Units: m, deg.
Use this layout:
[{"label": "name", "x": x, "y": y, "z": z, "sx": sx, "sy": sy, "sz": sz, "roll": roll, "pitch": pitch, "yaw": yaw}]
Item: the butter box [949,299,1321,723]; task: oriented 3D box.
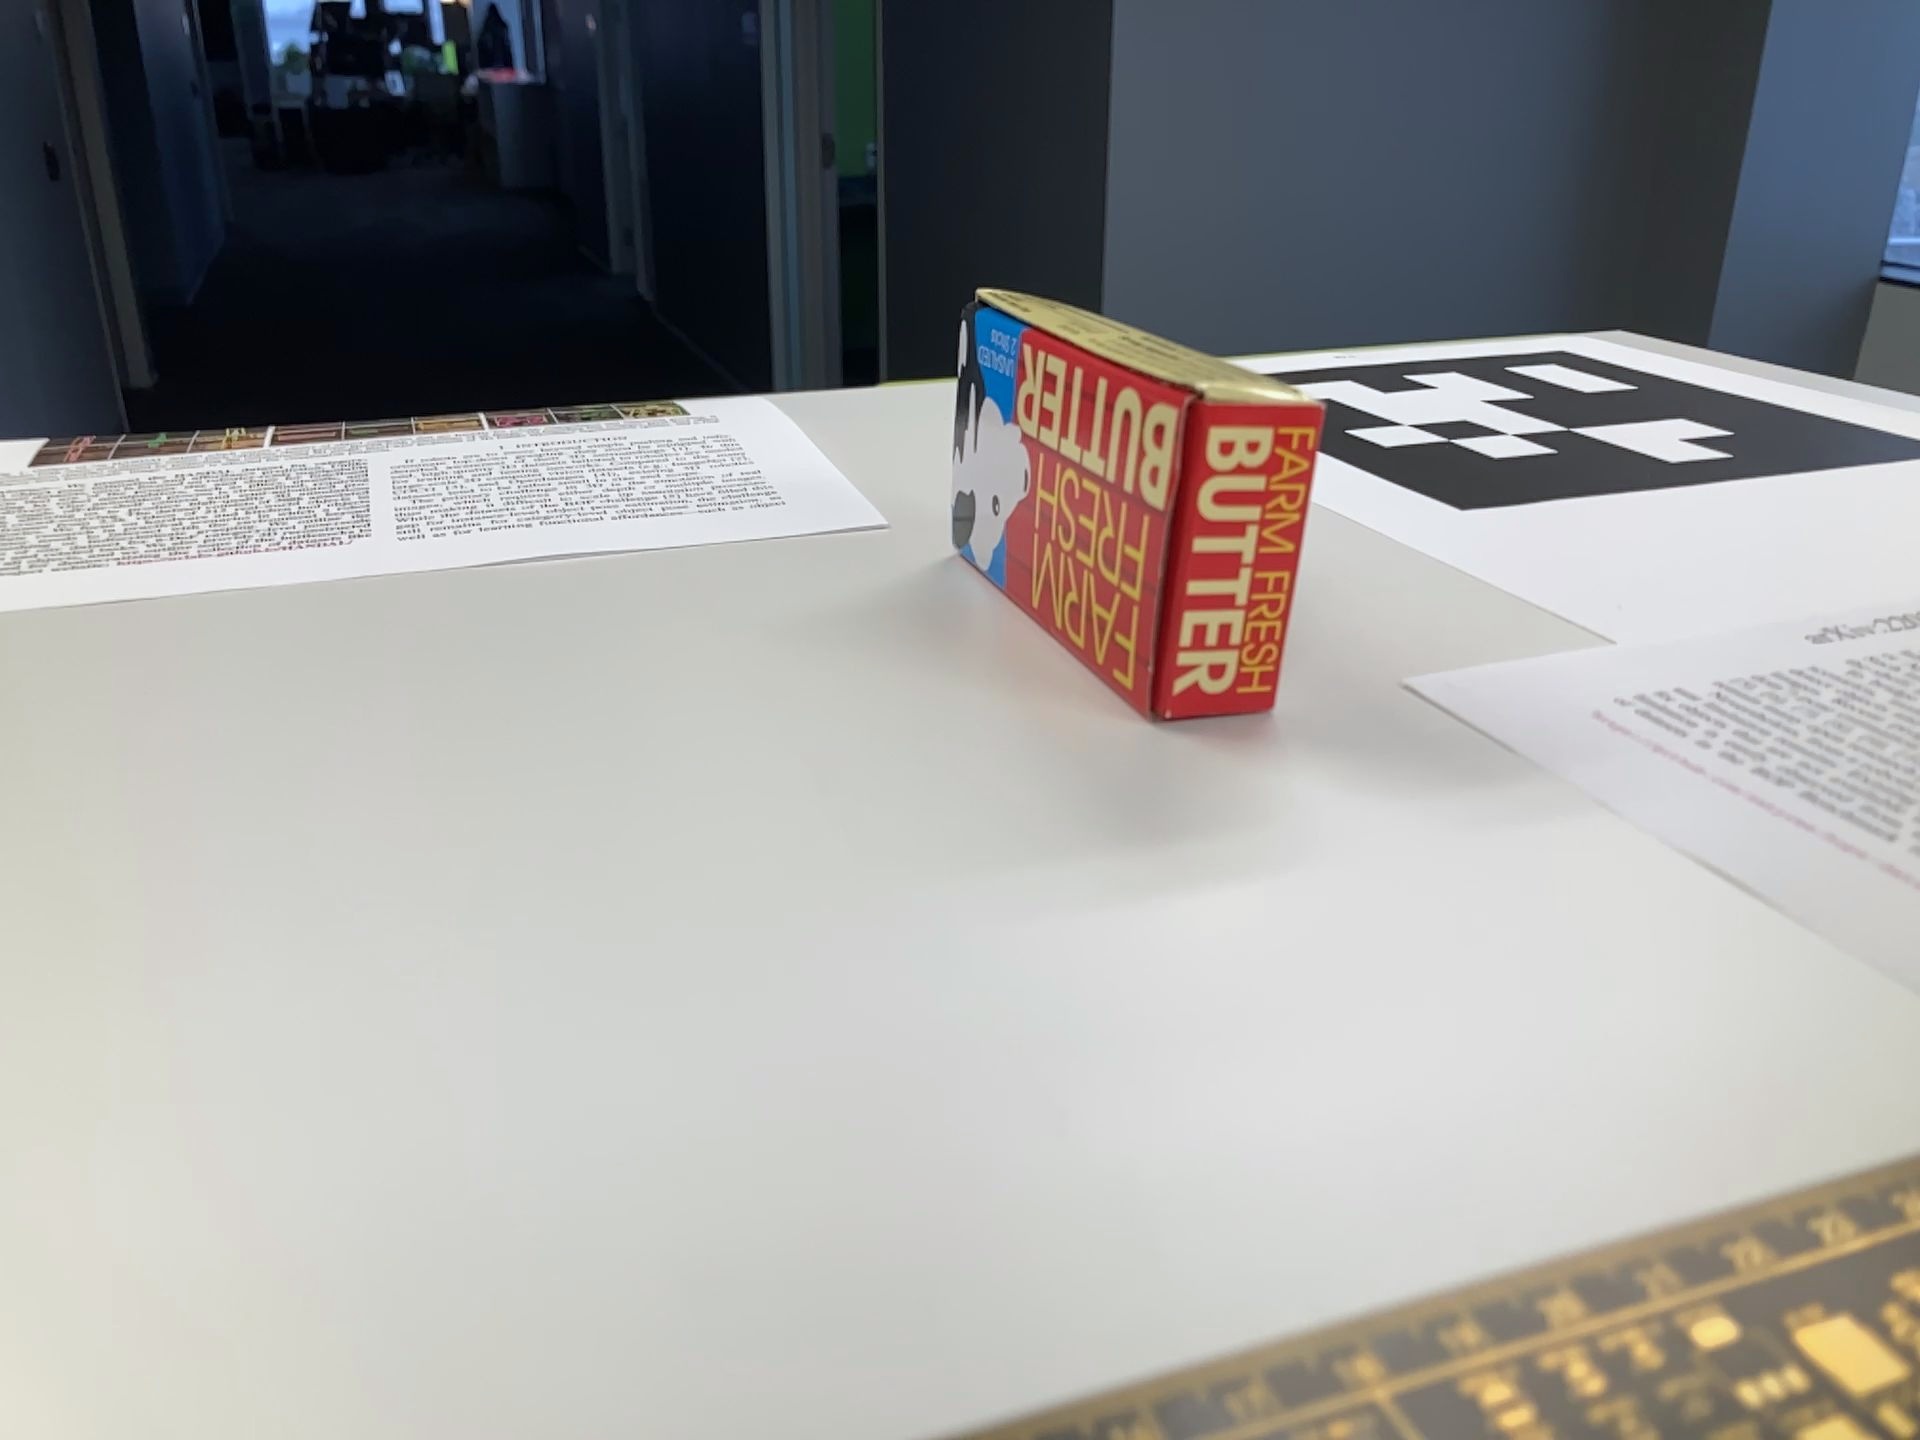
[{"label": "butter box", "x": 0.026, "y": -0.042, "z": 0.286, "sx": 0.024, "sy": 0.053, "sz": 0.103, "roll": -5, "pitch": 23, "yaw": -19}]
